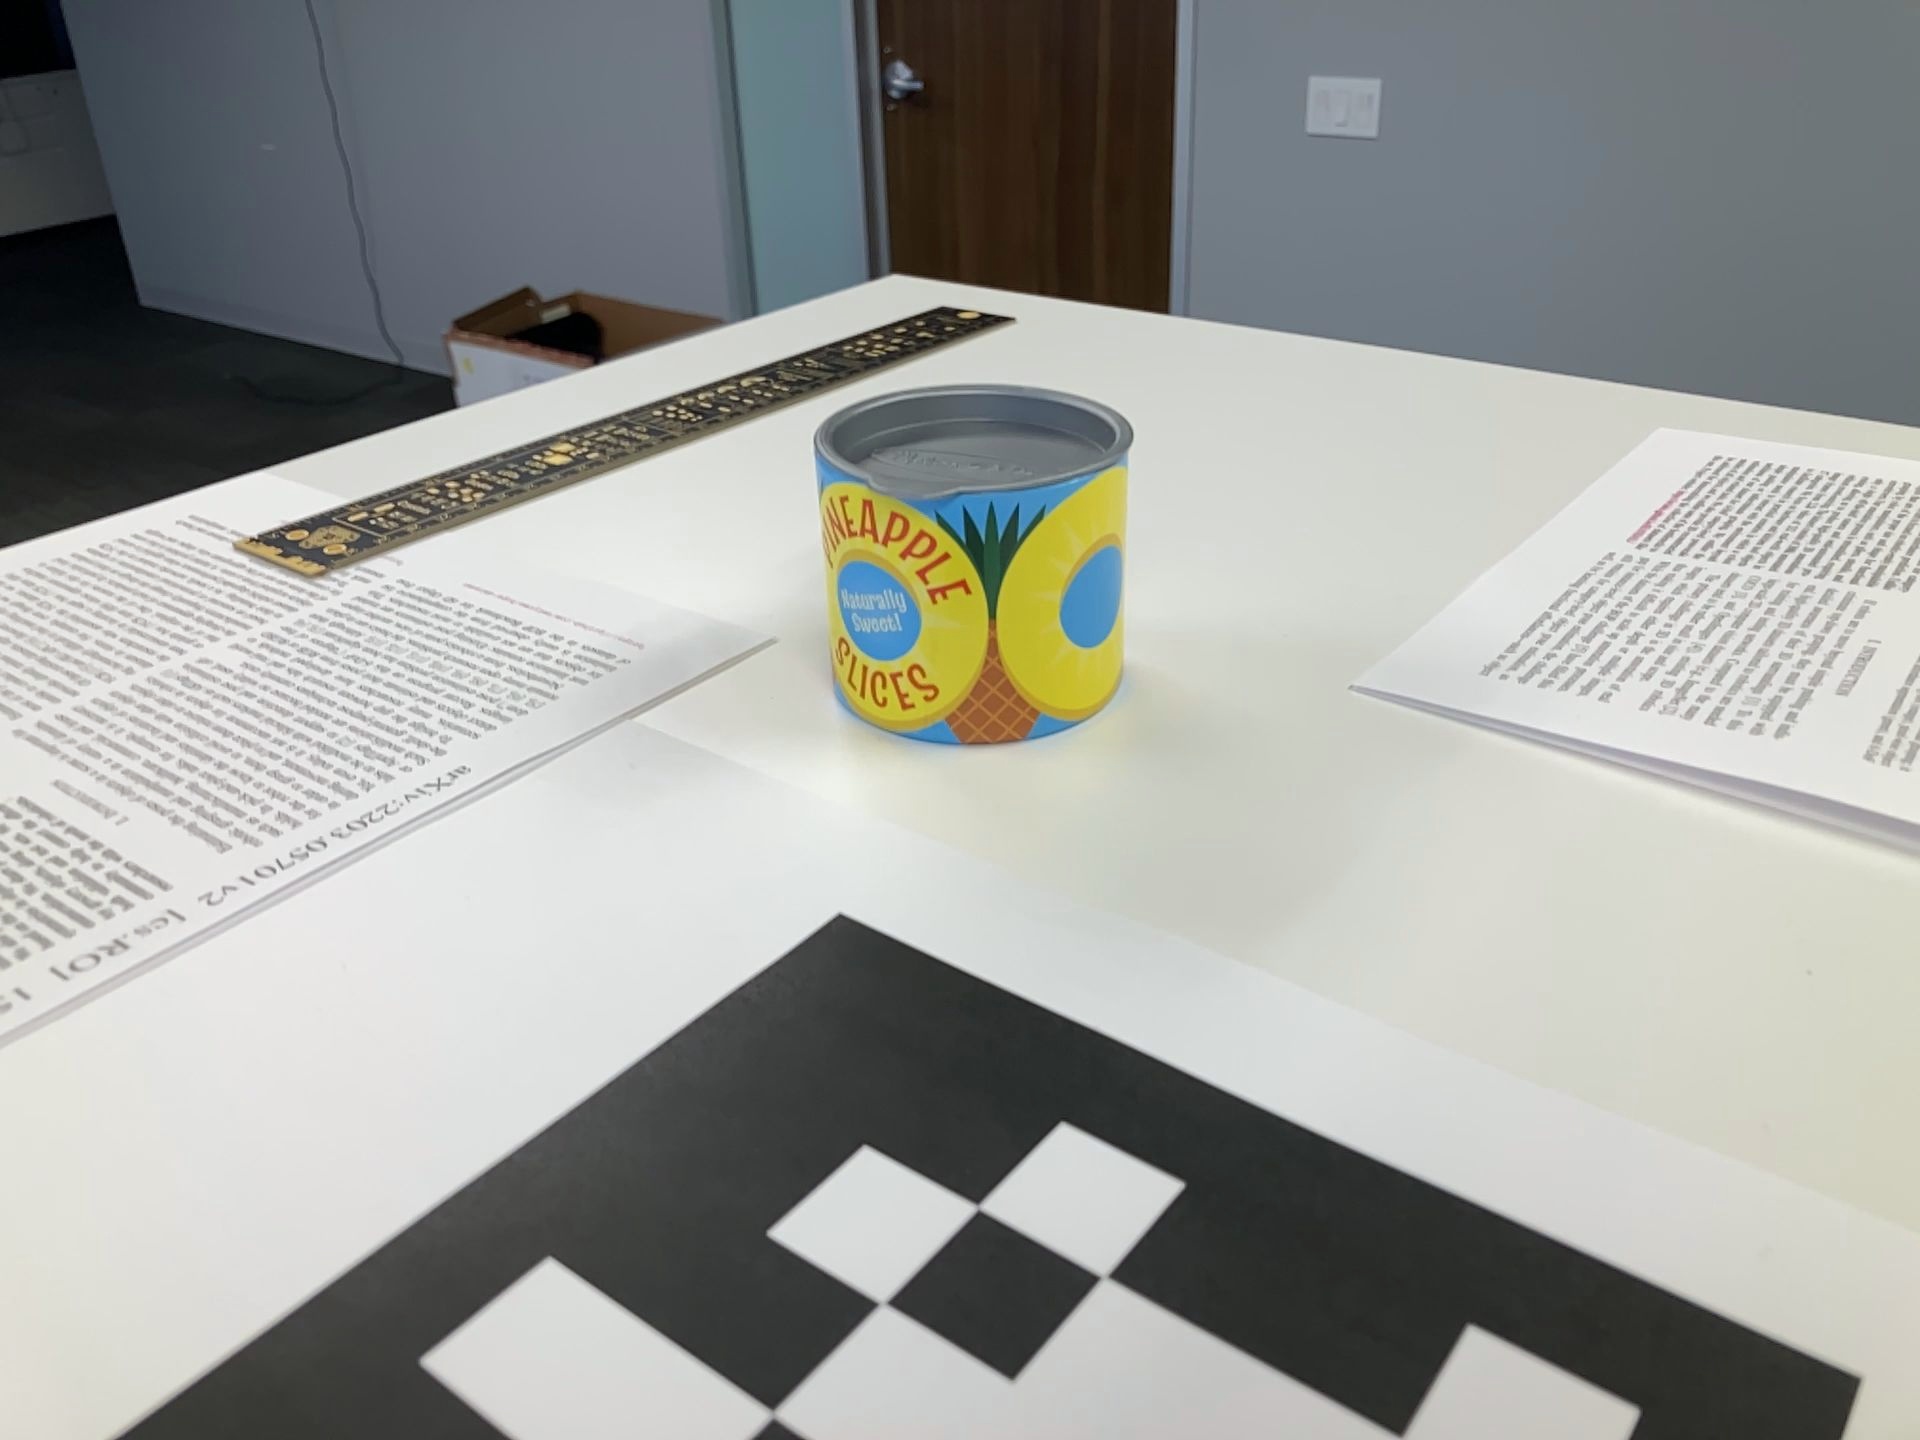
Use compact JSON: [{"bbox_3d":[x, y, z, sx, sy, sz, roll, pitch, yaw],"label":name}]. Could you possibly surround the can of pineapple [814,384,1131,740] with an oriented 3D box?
[{"bbox_3d":[0.002,-0.035,0.342,0.071,0.058,0.071,-2,28,1],"label":"can of pineapple"}]
